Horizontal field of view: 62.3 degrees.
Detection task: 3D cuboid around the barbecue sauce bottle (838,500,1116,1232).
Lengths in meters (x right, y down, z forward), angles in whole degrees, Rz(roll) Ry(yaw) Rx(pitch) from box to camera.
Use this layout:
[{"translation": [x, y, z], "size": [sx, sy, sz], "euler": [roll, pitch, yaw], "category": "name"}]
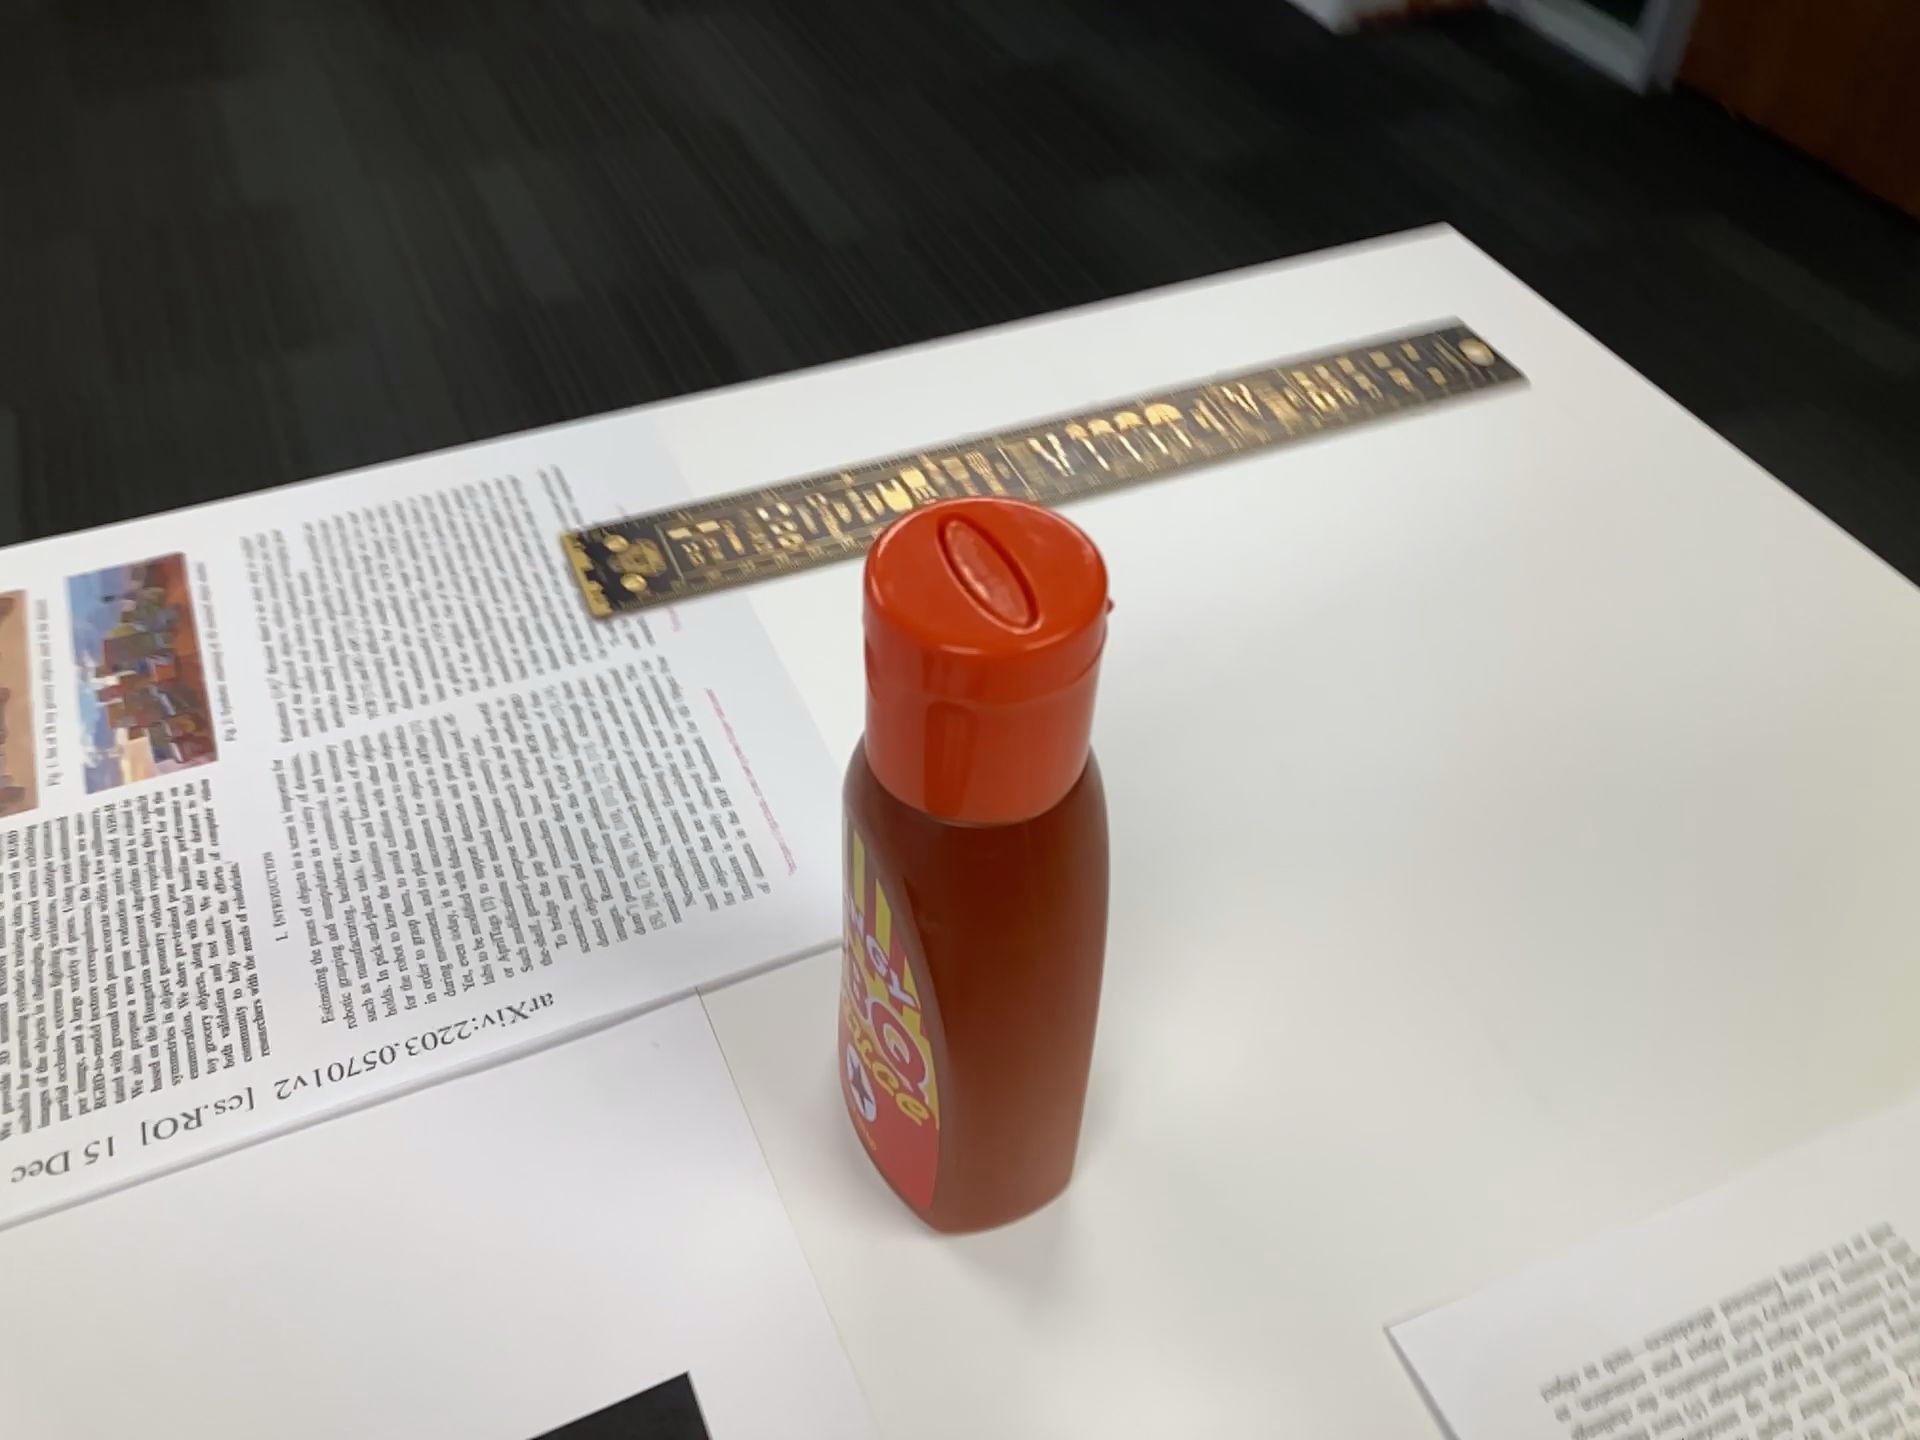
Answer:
[{"translation": [0.001, 0.030, 0.284], "size": [0.043, 0.148, 0.065], "euler": [-15, 49, -18], "category": "barbecue sauce bottle"}]
